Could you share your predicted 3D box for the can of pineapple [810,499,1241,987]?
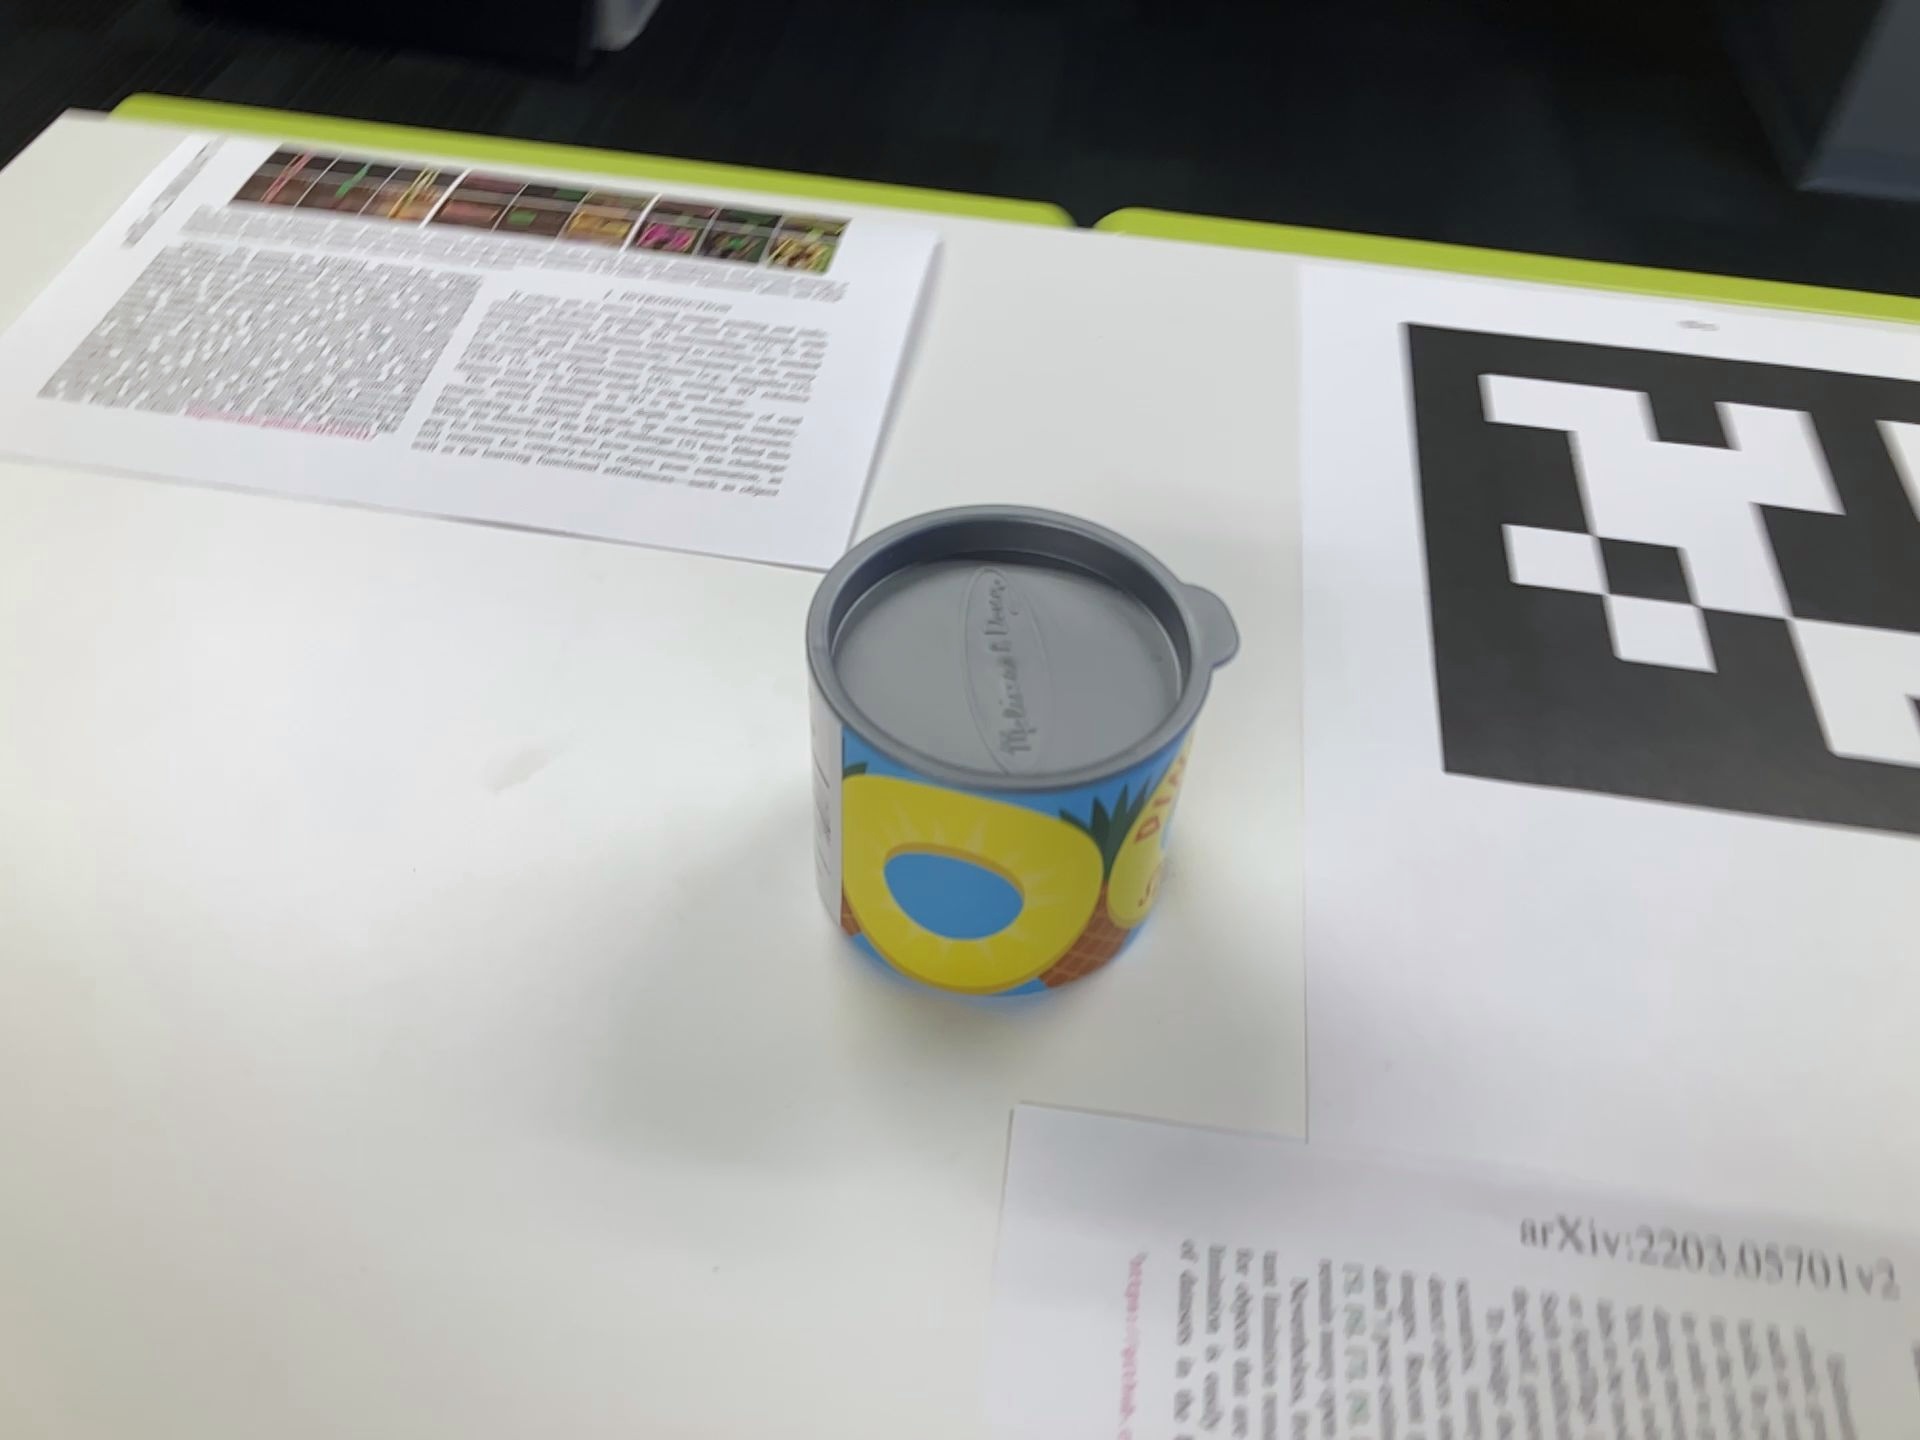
[{"bbox_3d":[0.009,0.005,0.279,0.071,0.058,0.071,2,48,-2],"label":"can of pineapple"}]
